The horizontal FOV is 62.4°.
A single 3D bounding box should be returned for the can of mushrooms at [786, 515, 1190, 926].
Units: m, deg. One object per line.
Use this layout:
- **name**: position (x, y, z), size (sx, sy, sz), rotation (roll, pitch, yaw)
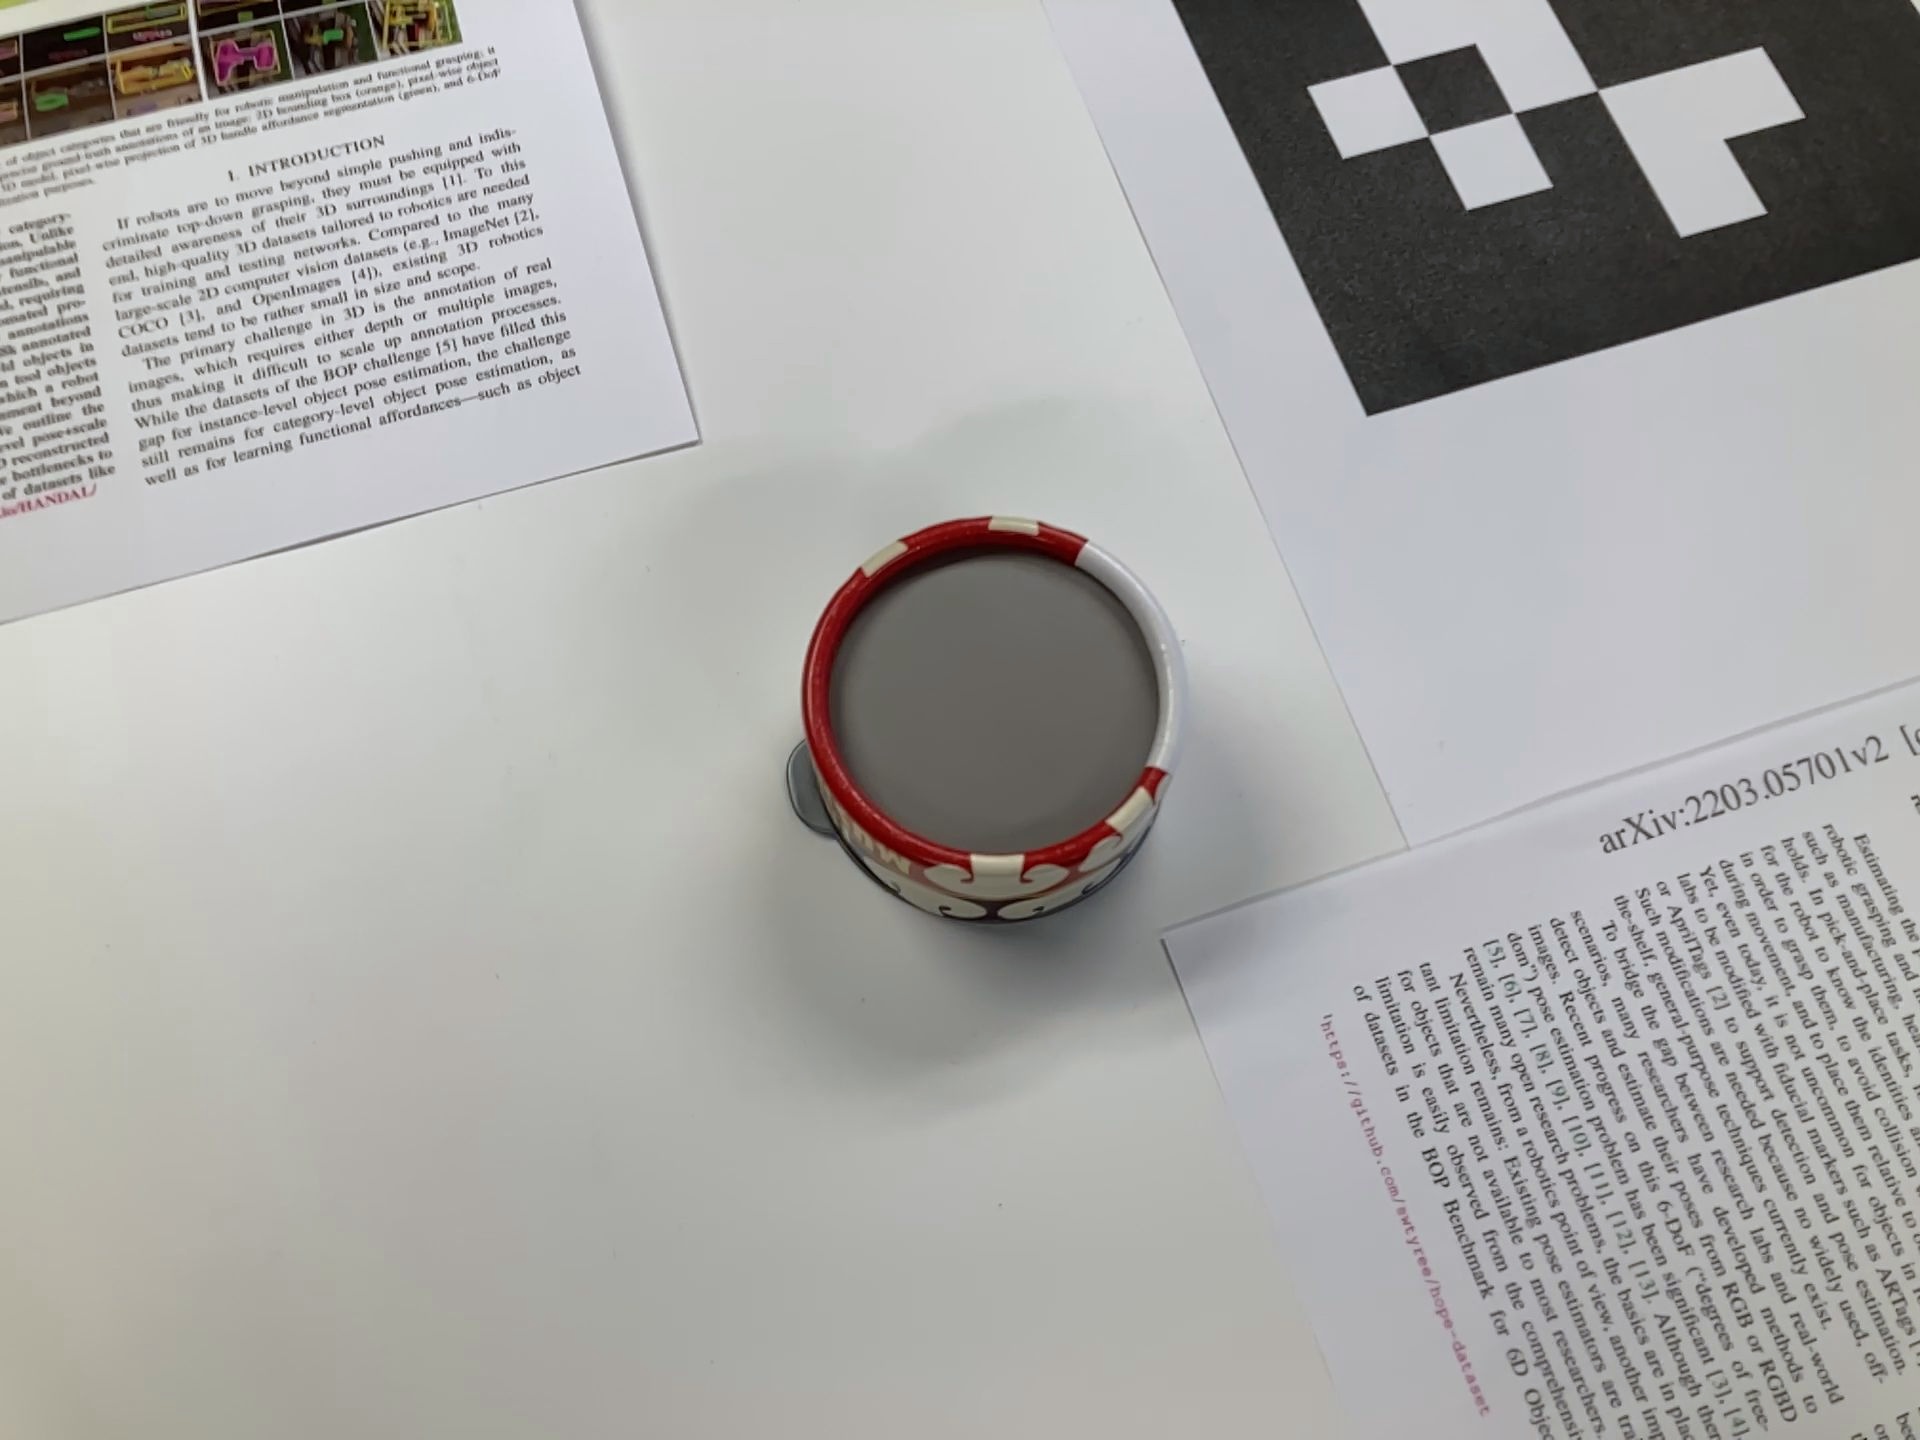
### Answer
- **can of mushrooms**: position (0.003, 0.001, 0.276), size (0.071, 0.033, 0.071), rotation (0, 71, 0)
